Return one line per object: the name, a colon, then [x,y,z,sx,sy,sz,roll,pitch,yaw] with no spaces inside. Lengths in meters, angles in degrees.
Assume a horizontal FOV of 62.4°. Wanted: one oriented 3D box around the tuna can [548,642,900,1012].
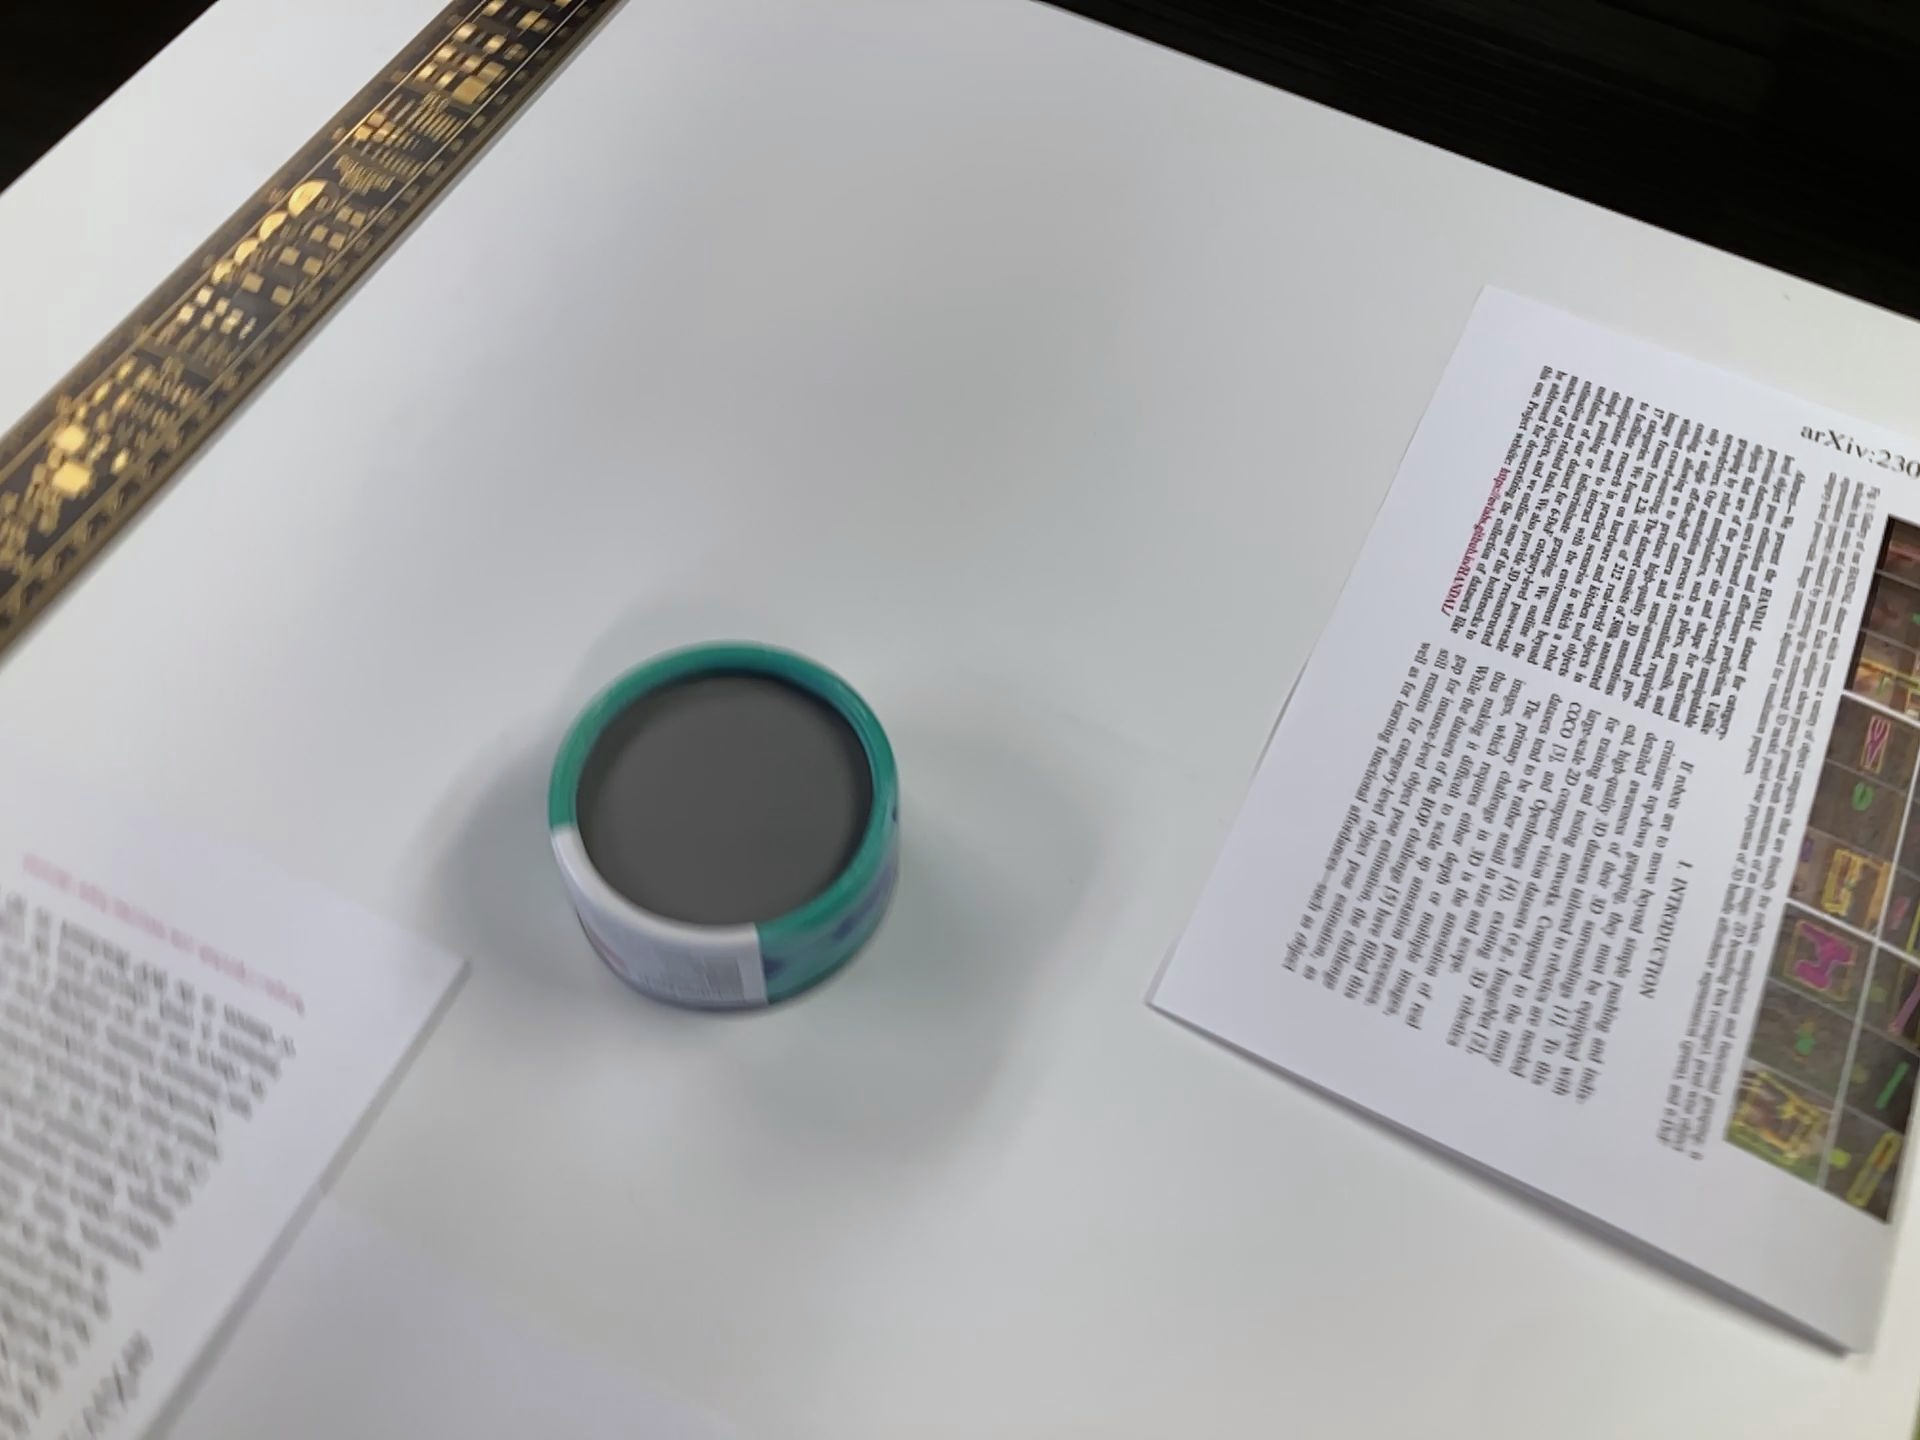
tuna can: [-0.044,0.018,0.310,0.071,0.033,0.071,2,61,-4]
